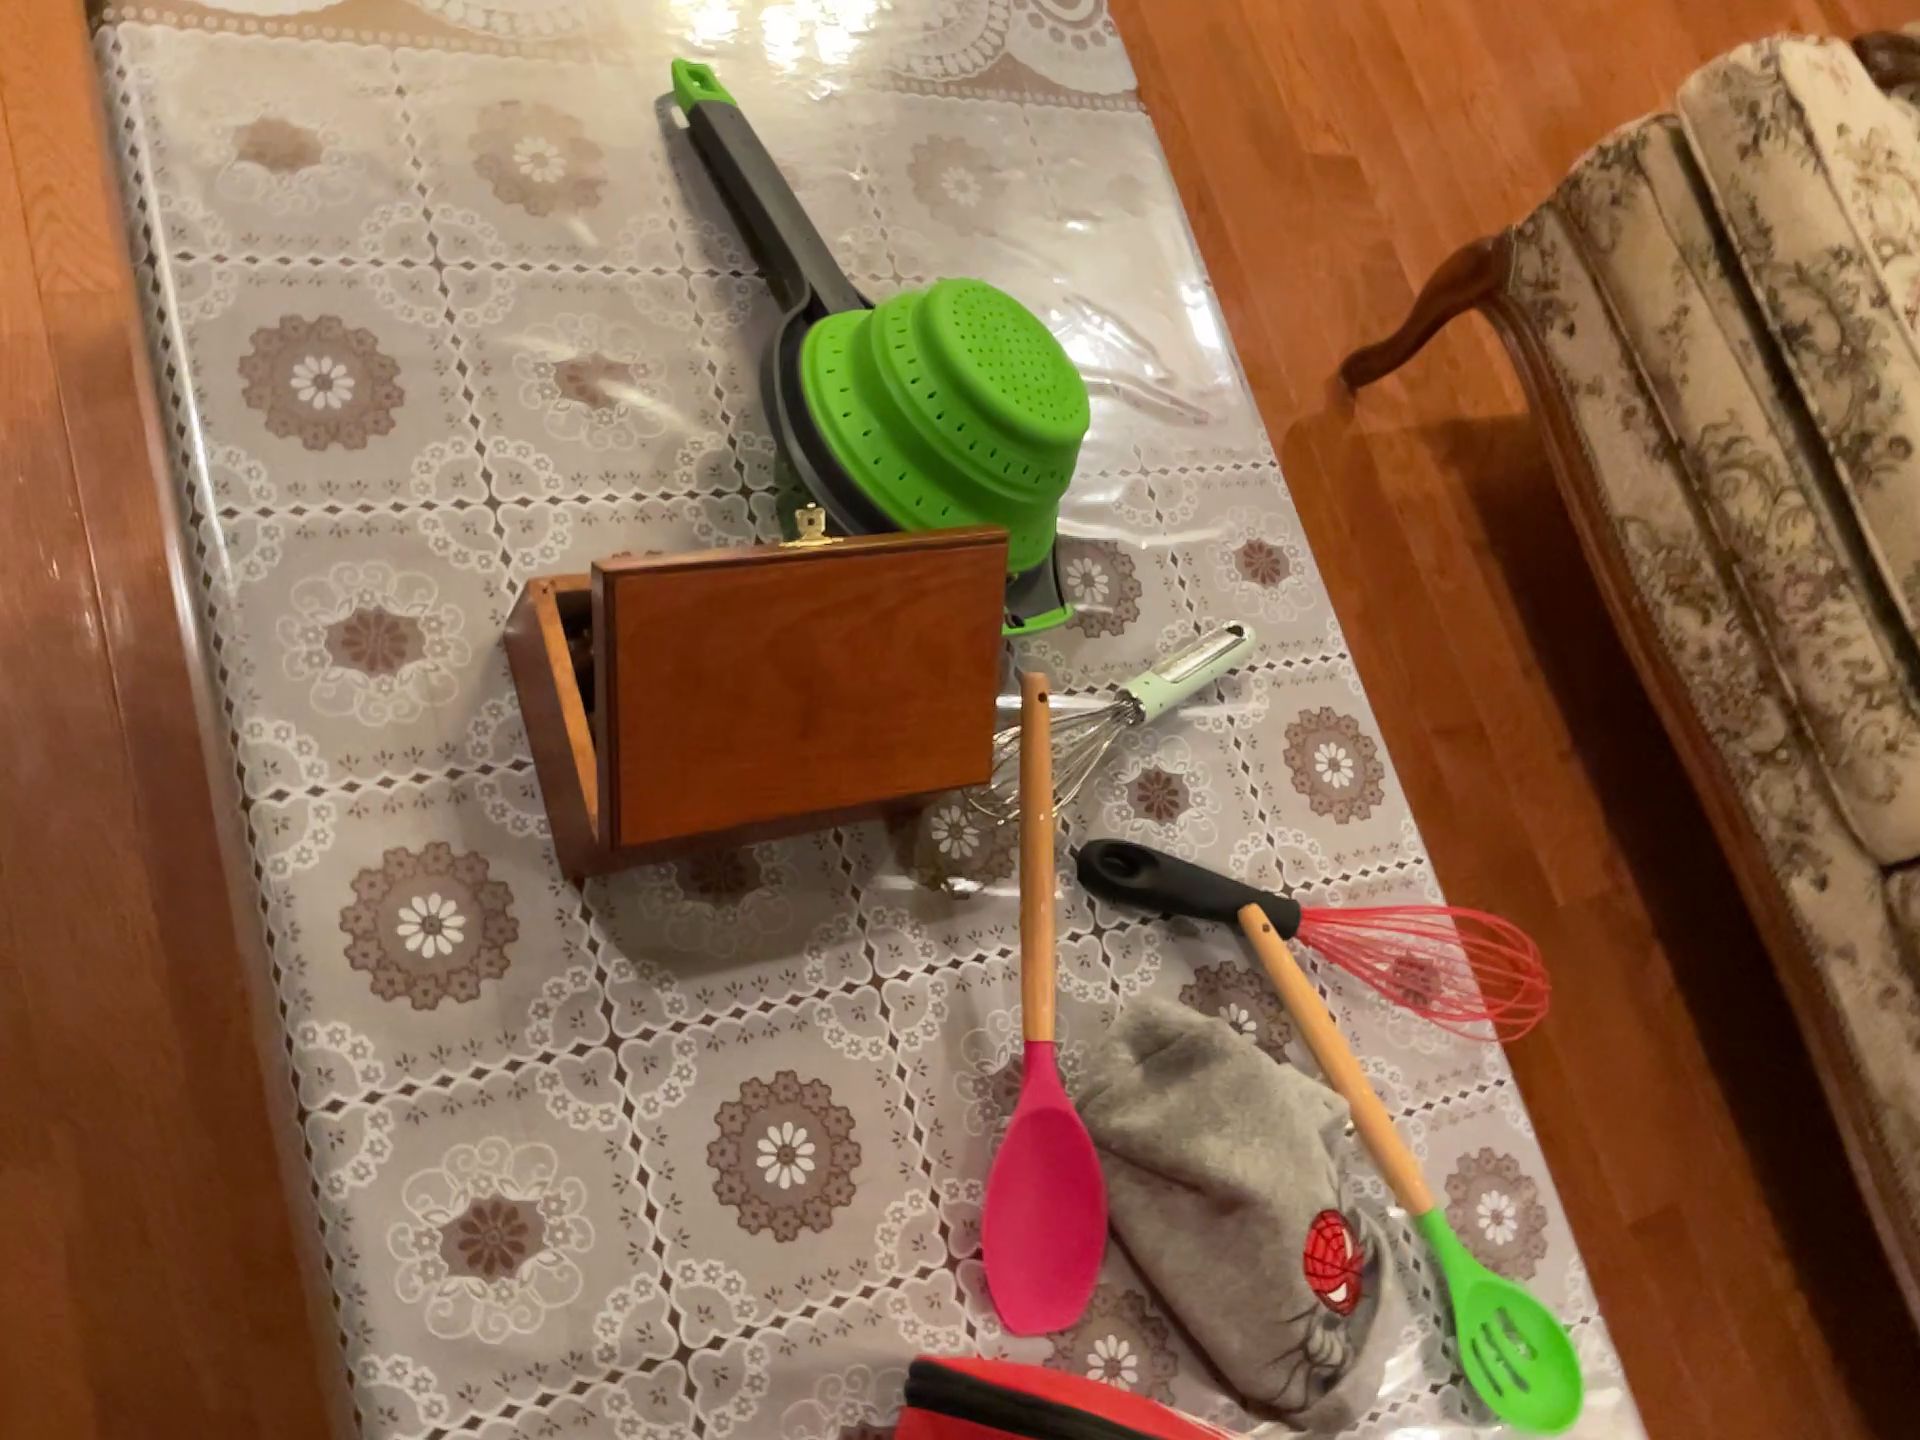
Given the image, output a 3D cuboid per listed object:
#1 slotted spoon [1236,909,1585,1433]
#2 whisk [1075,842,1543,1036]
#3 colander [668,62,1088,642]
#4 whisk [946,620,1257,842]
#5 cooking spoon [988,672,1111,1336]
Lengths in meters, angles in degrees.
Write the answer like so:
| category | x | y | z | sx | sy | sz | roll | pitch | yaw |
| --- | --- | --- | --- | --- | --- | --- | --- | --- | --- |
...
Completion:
| category | x | y | z | sx | sy | sz | roll | pitch | yaw |
| --- | --- | --- | --- | --- | --- | --- | --- | --- | --- |
| slotted spoon | 0.235 | 0.238 | 0.852 | 0.070 | 0.031 | 0.314 | -30 | 87 | -33 |
| whisk | 0.200 | 0.116 | 0.884 | 0.295 | 0.073 | 0.073 | 17 | 69 | -13 |
| colander | -0.041 | -0.230 | 0.855 | 0.204 | 0.094 | 0.397 | -12 | 67 | -51 |
| whisk | 0.087 | -0.001 | 0.886 | 0.246 | 0.059 | 0.057 | -31 | 127 | -36 |
| cooking spoon | 0.039 | 0.133 | 0.780 | 0.068 | 0.017 | 0.319 | 5 | 78 | -28 |
